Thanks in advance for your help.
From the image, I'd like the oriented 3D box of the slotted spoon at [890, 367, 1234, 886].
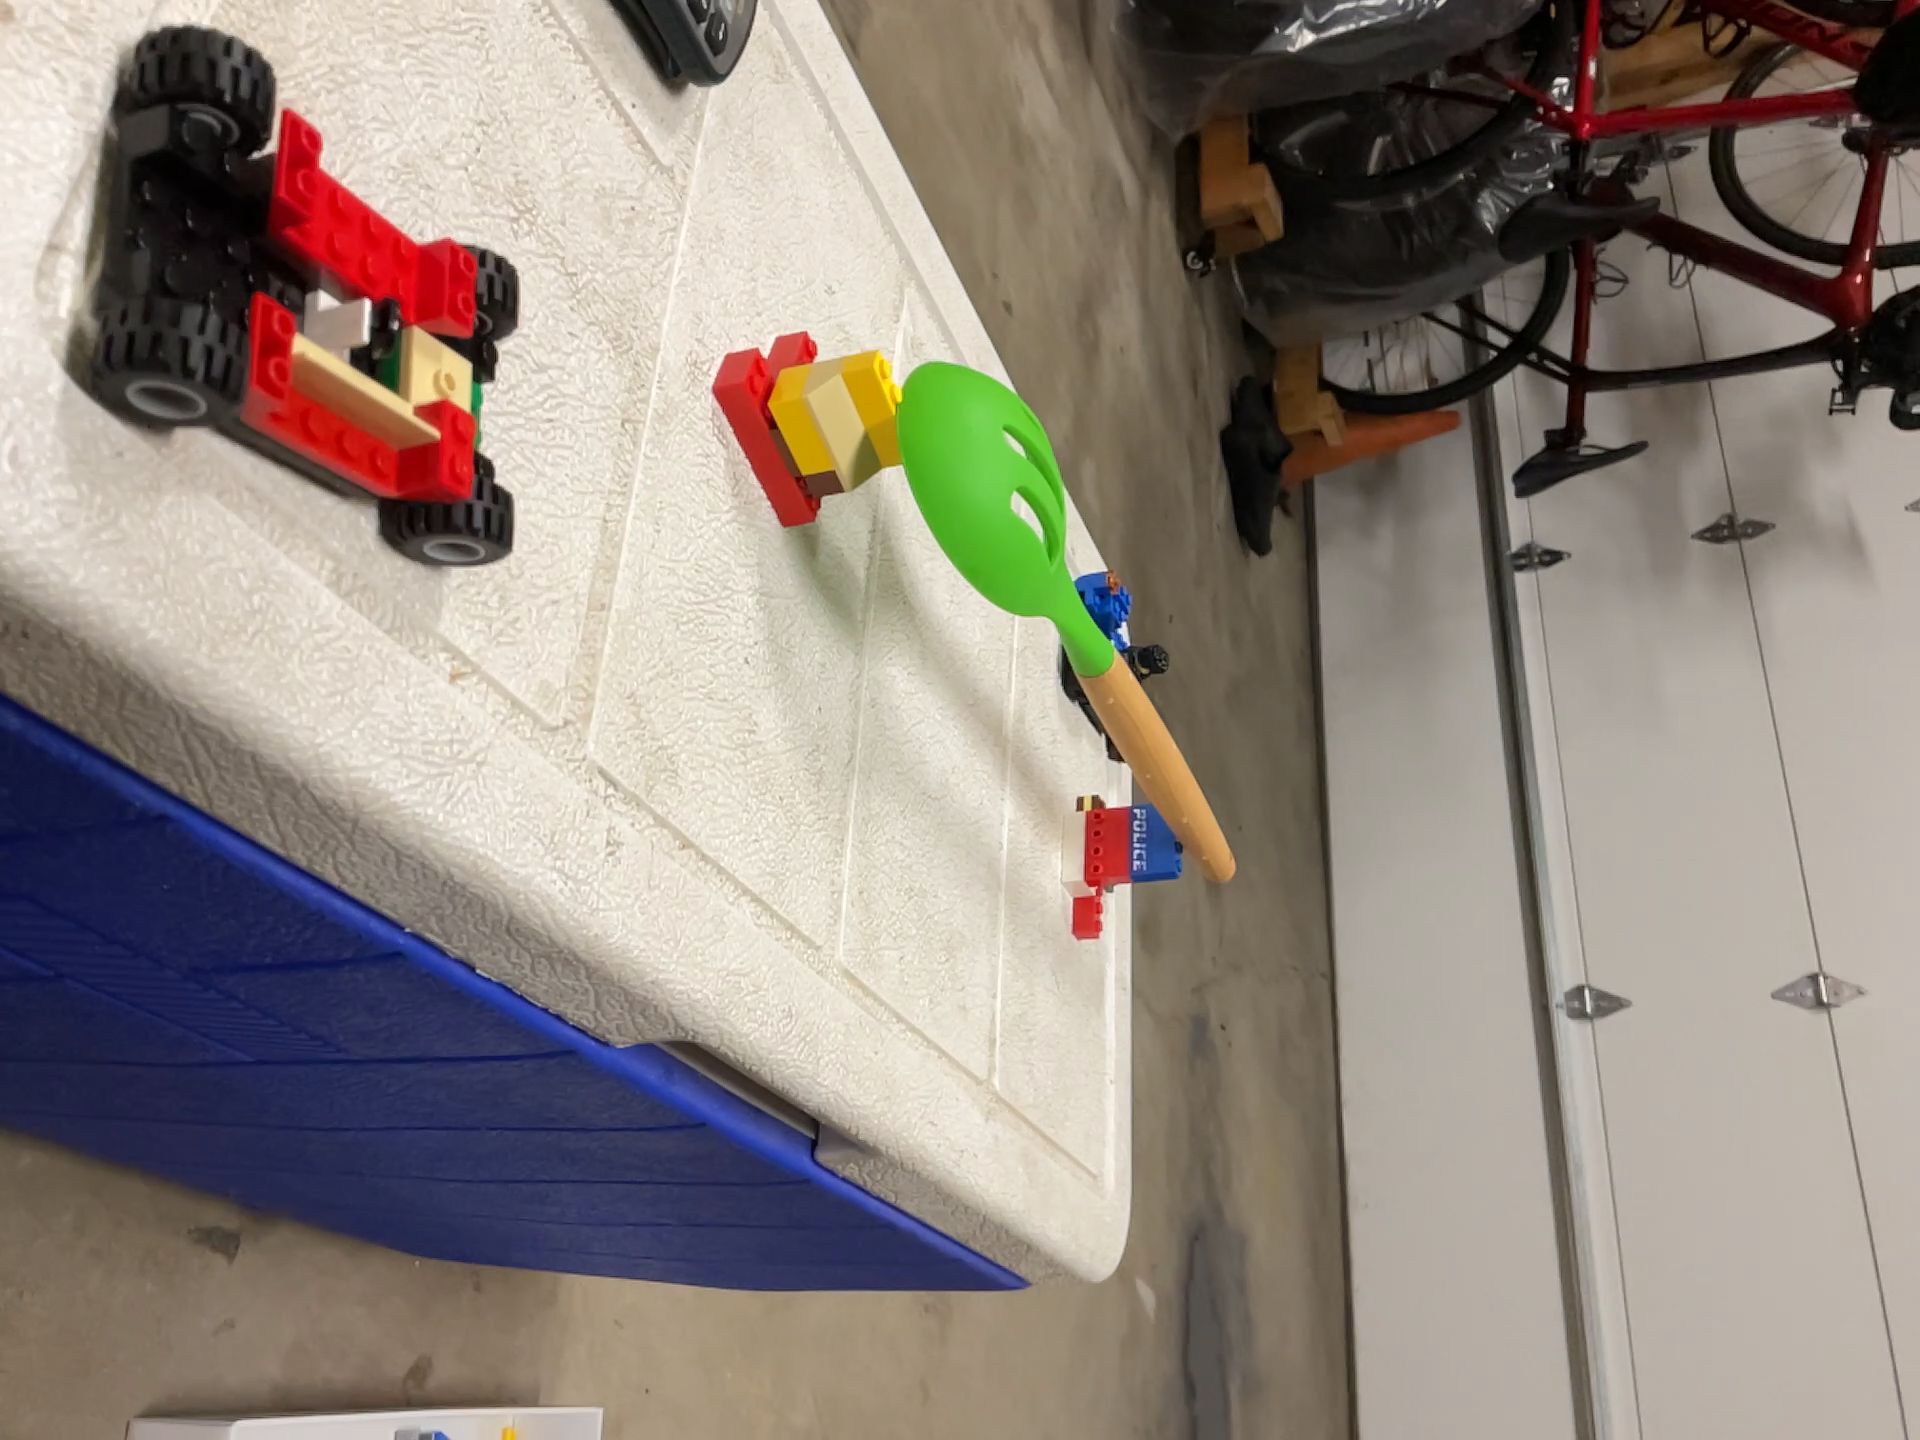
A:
[{"bbox_3d":[0.052,-0.010,0.544,0.313,0.031,0.070,52,35,-54],"label":"slotted spoon"}]
